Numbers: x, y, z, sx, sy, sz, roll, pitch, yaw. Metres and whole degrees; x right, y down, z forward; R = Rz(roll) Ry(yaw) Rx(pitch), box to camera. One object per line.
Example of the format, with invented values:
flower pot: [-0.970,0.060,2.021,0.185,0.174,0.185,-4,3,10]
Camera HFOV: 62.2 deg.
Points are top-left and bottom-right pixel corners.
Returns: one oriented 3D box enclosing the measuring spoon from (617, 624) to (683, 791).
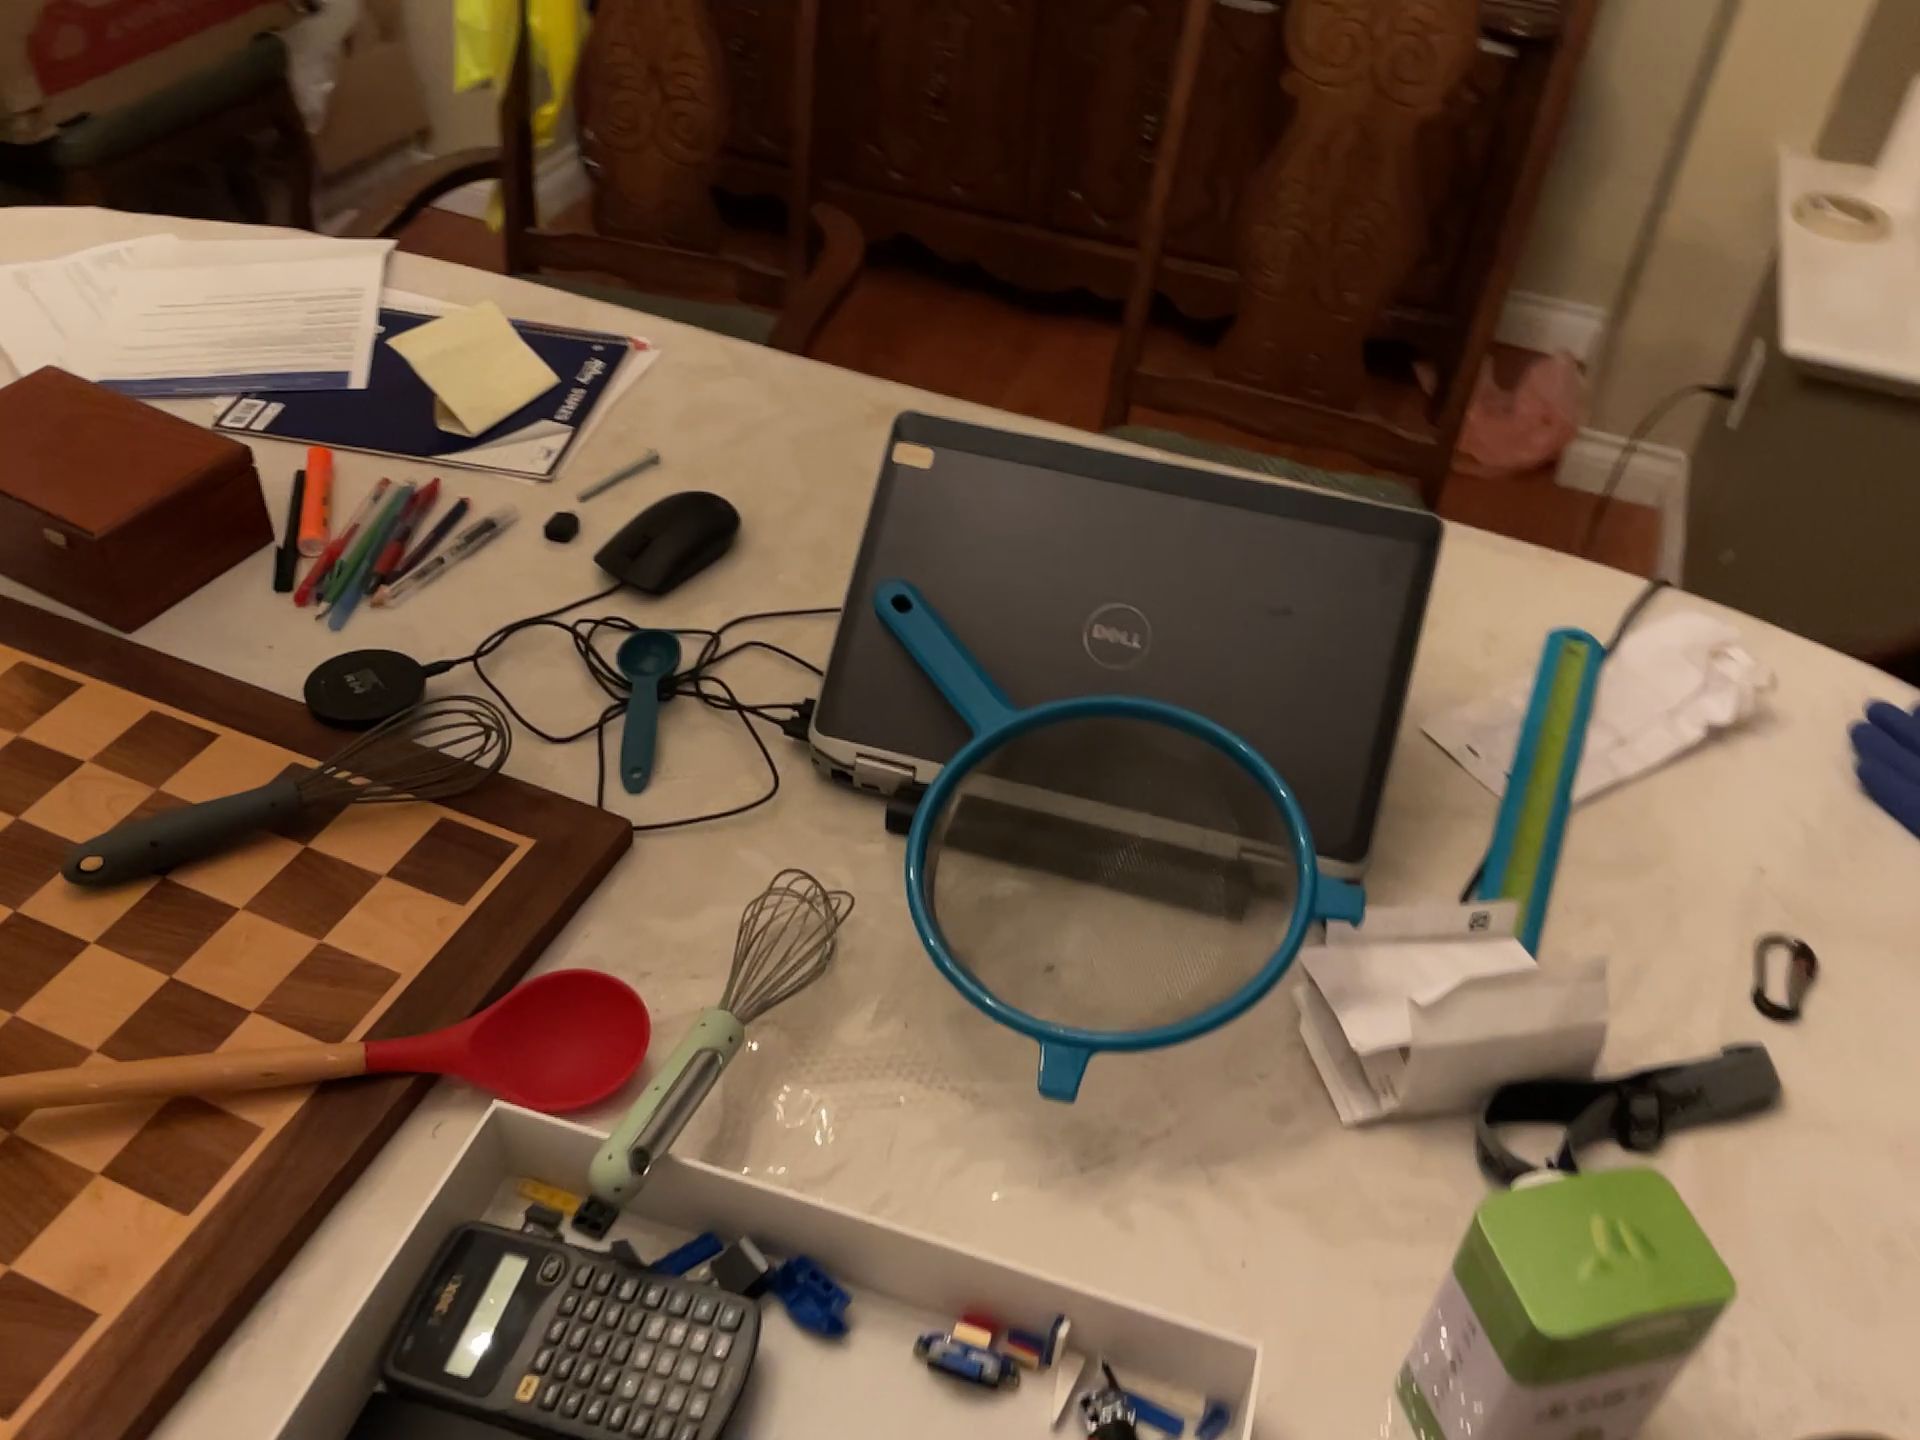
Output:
measuring spoon: [-0.193,-0.005,0.990,0.042,0.021,0.129,-5,54,0]

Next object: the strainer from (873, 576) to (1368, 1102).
strainer: [0.046,0.052,0.878,0.211,0.095,0.341,-28,55,-15]

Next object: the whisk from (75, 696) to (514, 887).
whisk: [-0.361,0.042,0.880,0.238,0.055,0.055,-21,34,-21]

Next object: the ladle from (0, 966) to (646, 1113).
ladle: [-0.310,0.163,0.754,0.315,0.031,0.069,-3,64,-16]

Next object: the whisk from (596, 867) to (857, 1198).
whisk: [-0.110,0.145,0.773,0.059,0.057,0.246,-14,20,24]
